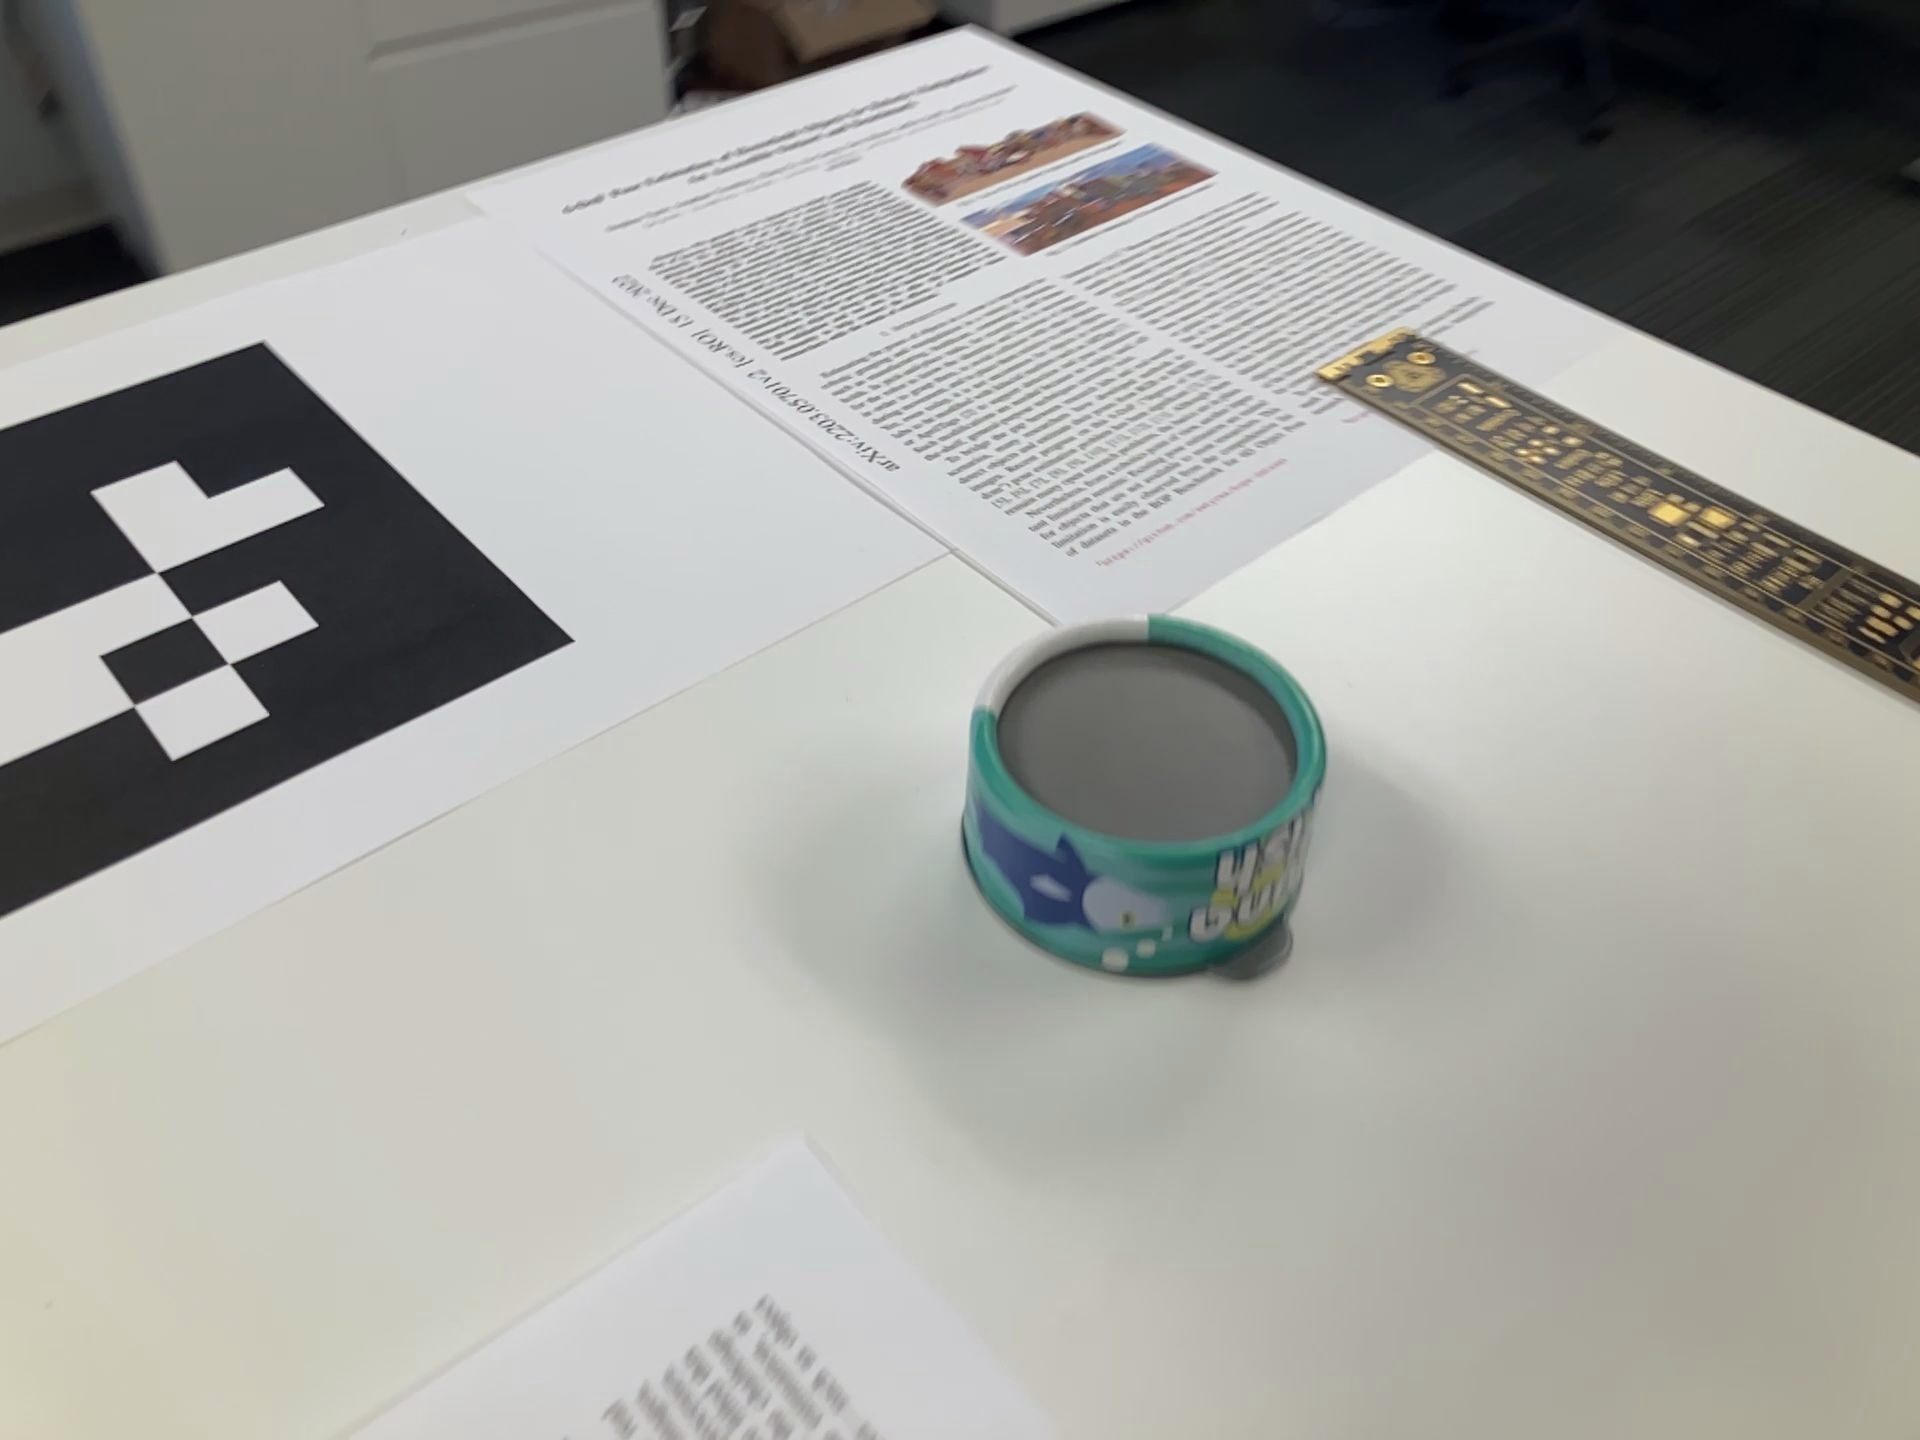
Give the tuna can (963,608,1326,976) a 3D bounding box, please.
[{"bbox_3d":[0.035,0.013,0.298,0.071,0.033,0.071,0,45,0],"label":"tuna can"}]
